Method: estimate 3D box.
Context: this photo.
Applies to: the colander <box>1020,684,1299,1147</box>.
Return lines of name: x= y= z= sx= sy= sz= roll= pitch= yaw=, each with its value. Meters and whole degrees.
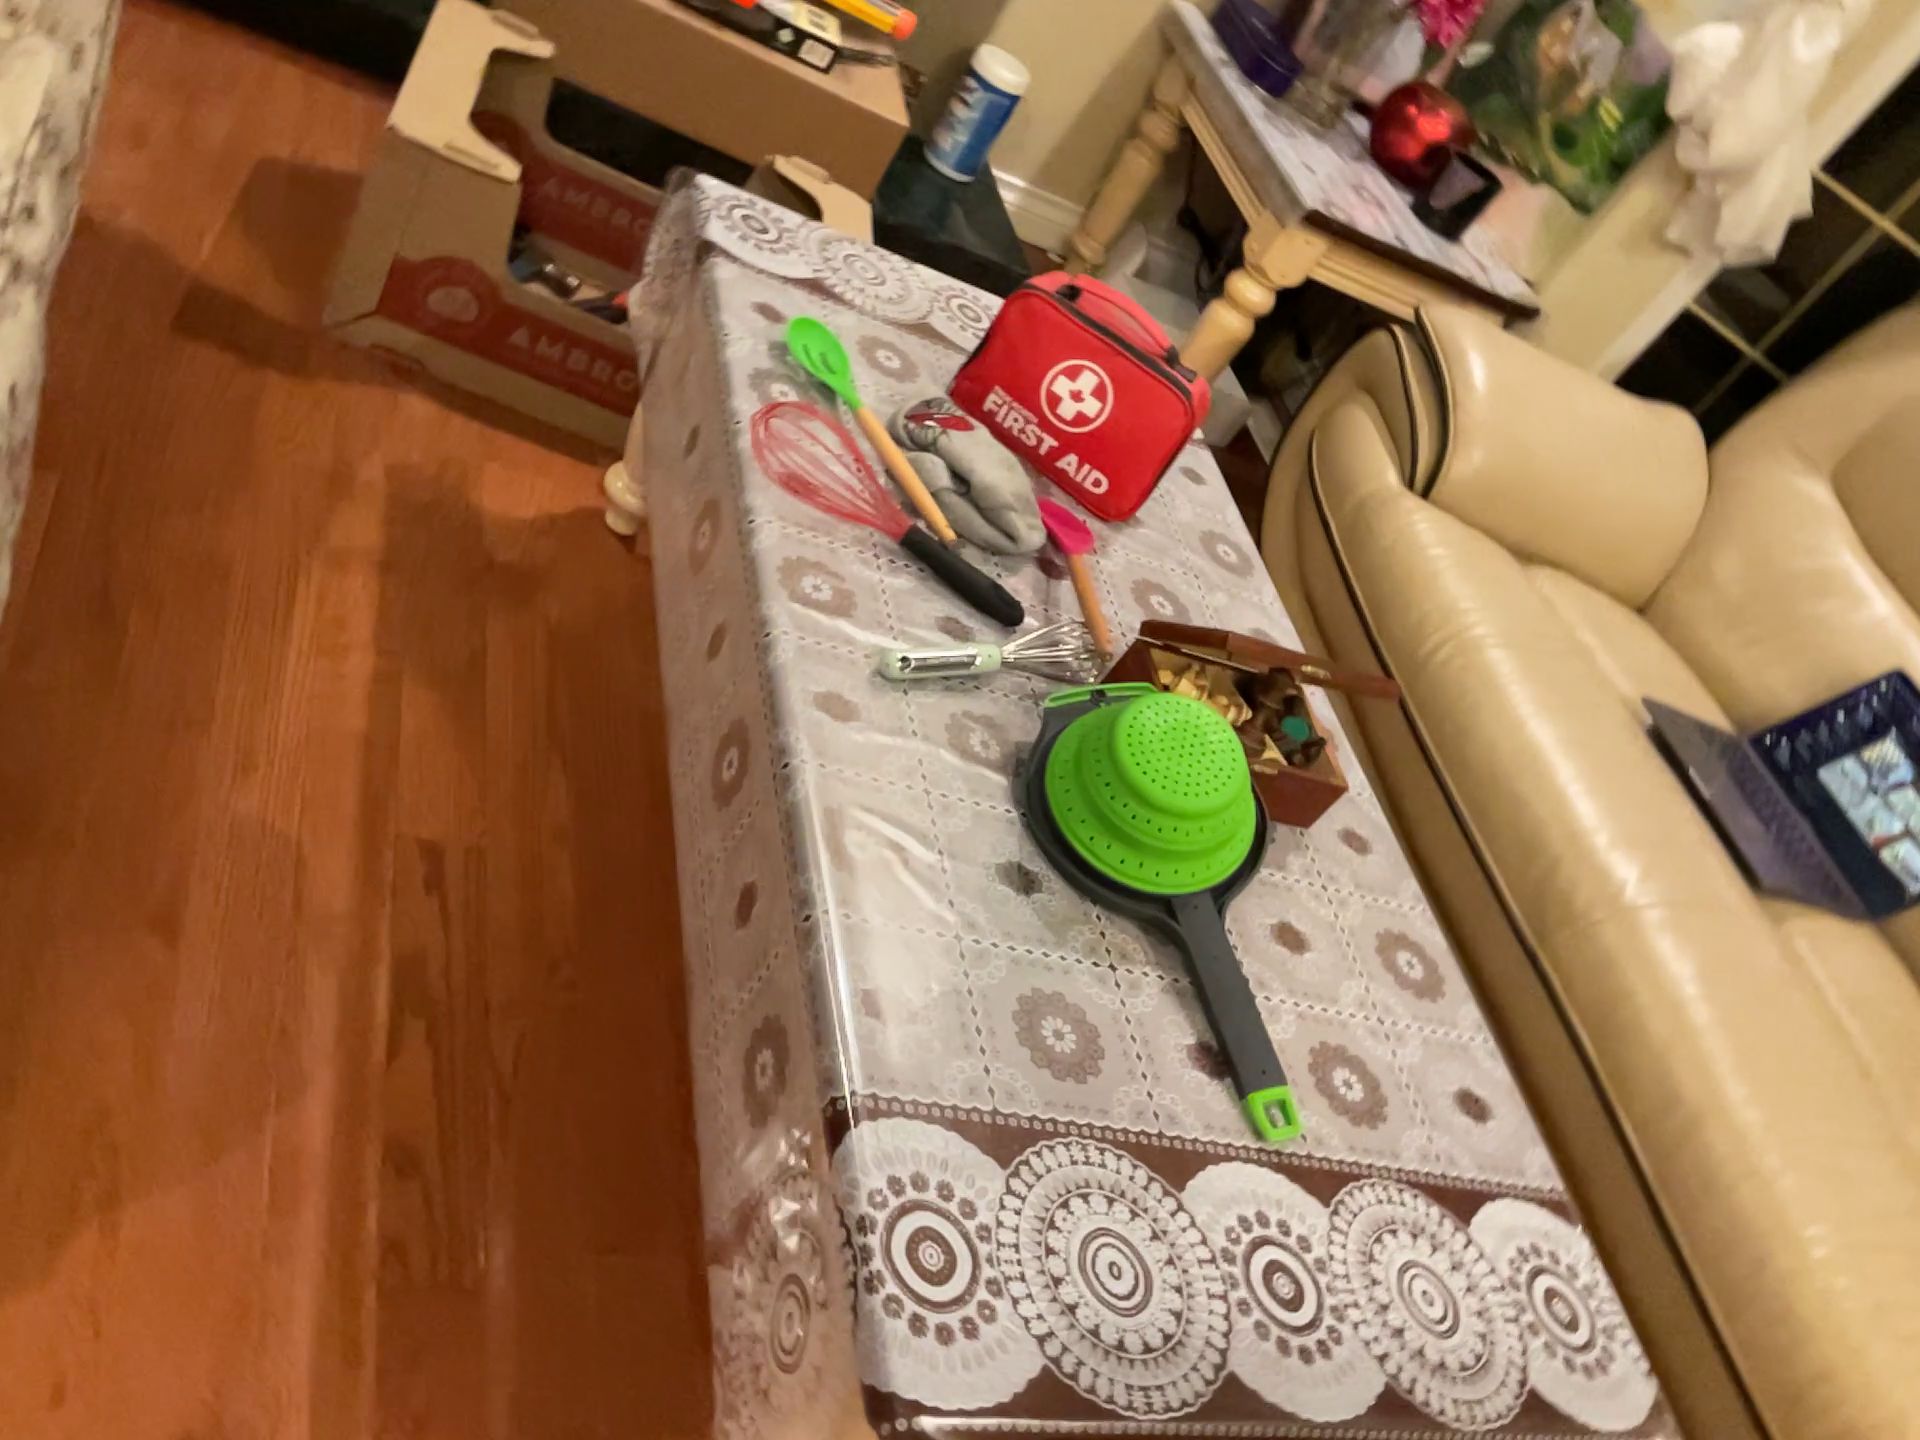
colander: x=0.179 y=0.116 z=1.189 sx=0.204 sy=0.094 sz=0.398 roll=-7 pitch=59 yaw=-20

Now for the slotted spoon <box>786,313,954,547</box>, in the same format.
slotted spoon: x=-0.083 y=-0.269 z=1.470 sx=0.070 sy=0.031 sz=0.314 roll=-1 pitch=48 yaw=-42

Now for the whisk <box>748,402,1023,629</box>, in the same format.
whisk: x=-0.061 y=-0.175 z=1.382 sx=0.295 sy=0.073 sz=0.073 roll=38 pitch=29 yaw=-10

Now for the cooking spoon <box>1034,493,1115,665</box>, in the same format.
cooking spoon: x=0.109 y=-0.136 z=1.465 sx=0.068 sy=0.017 sz=0.319 roll=21 pitch=28 yaw=-18

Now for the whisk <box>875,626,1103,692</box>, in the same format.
whisk: x=0.029 y=-0.048 z=1.332 sx=0.246 sy=0.059 sz=0.058 roll=-4 pitch=11 yaw=-40
